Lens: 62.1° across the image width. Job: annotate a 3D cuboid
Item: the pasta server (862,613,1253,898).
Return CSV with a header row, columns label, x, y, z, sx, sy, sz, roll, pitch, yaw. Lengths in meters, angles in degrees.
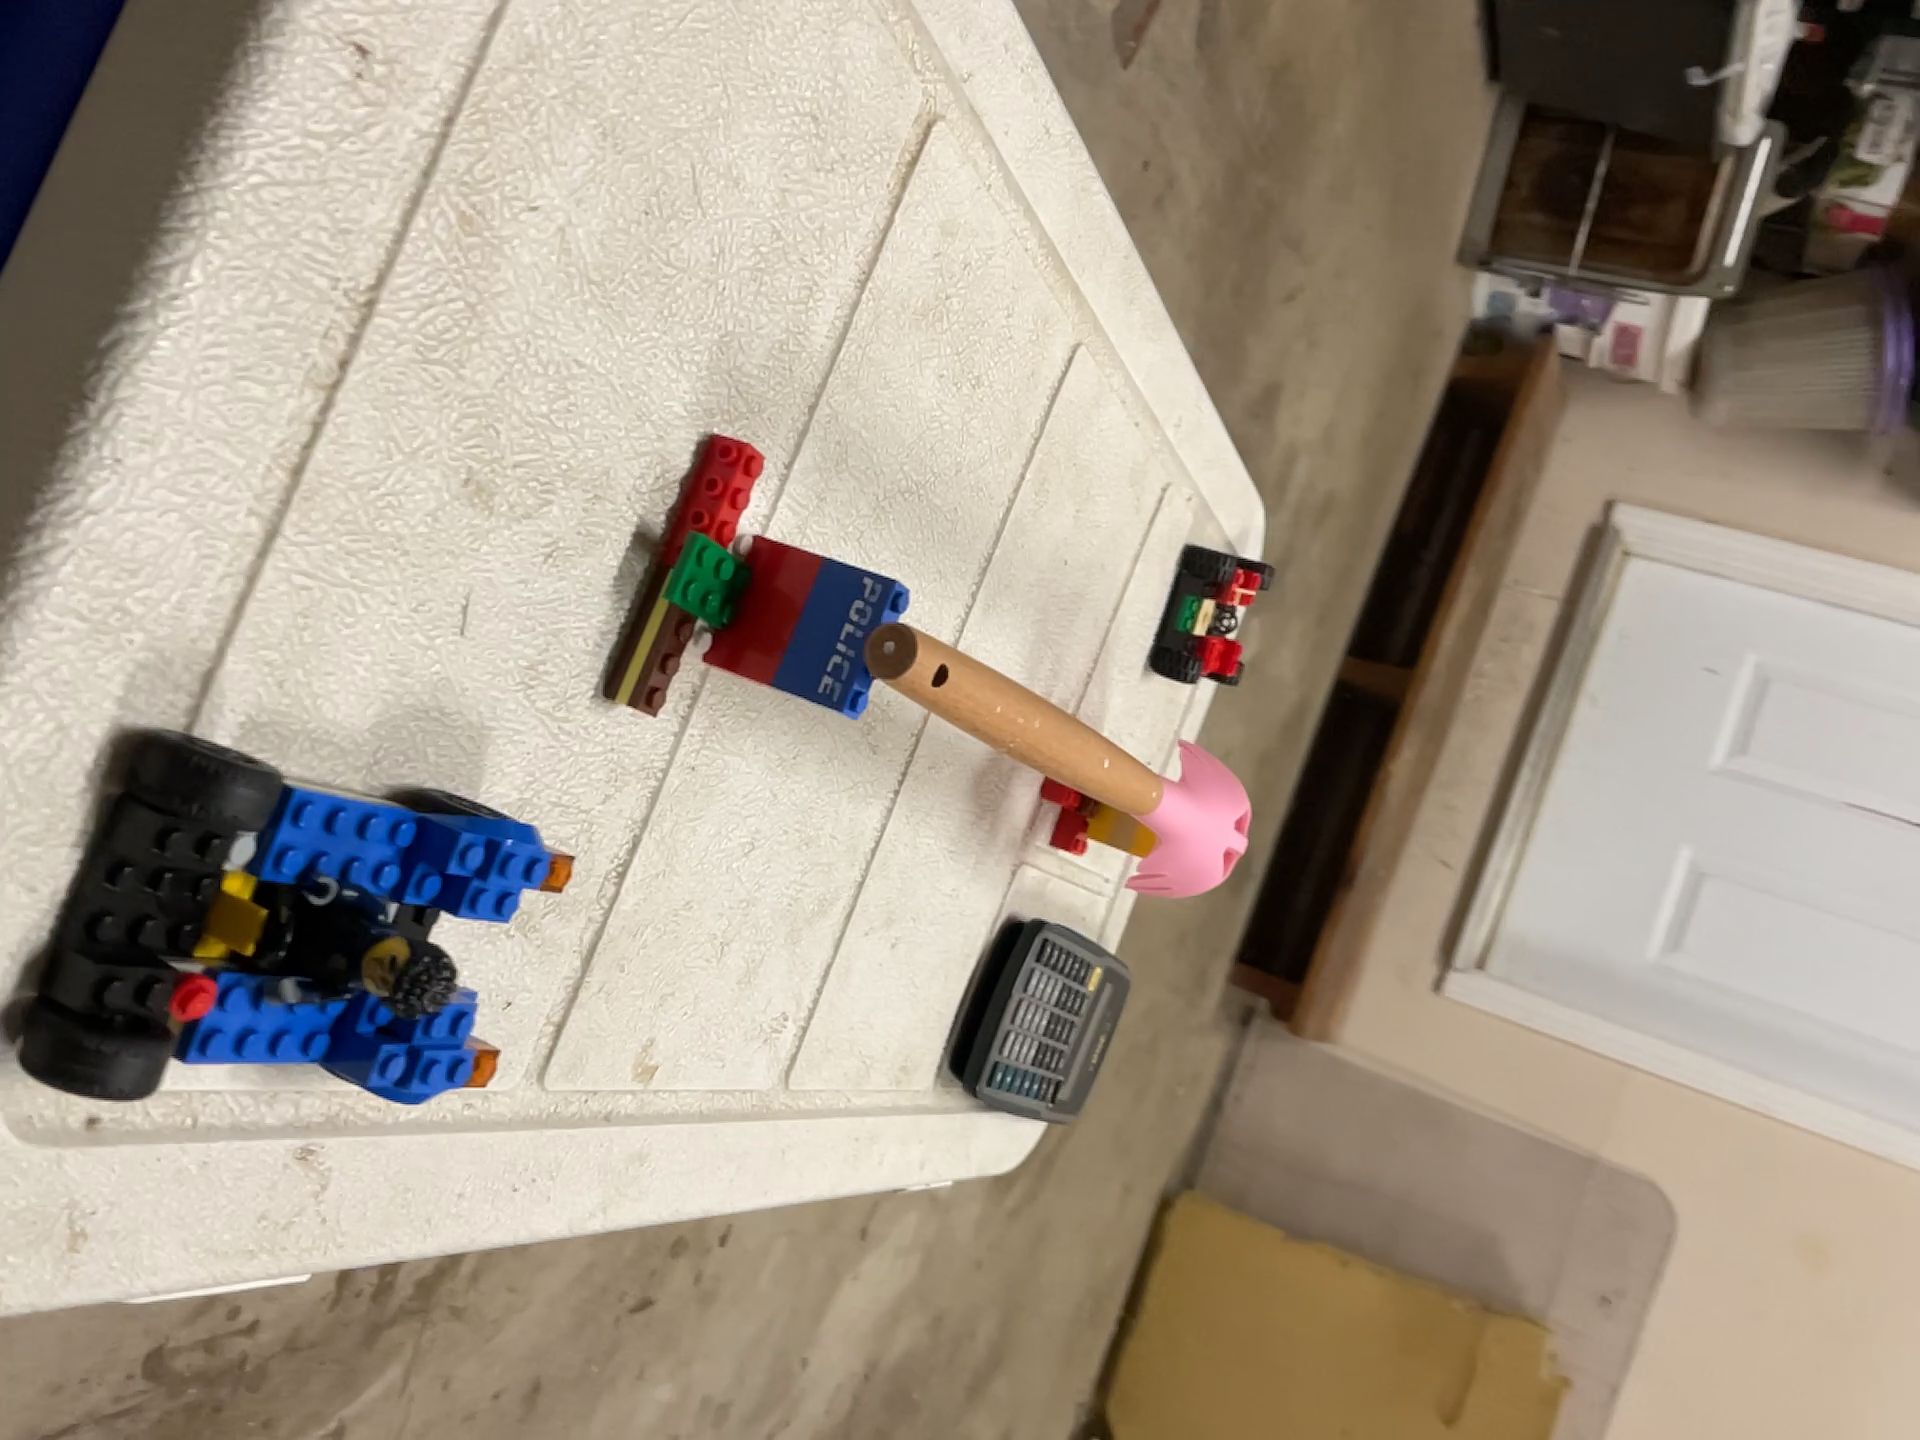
label,x,y,z,sx,sy,sz,roll,pitch,yaw
pasta server,0.040,0.015,0.482,0.316,0.040,0.060,28,83,-64
